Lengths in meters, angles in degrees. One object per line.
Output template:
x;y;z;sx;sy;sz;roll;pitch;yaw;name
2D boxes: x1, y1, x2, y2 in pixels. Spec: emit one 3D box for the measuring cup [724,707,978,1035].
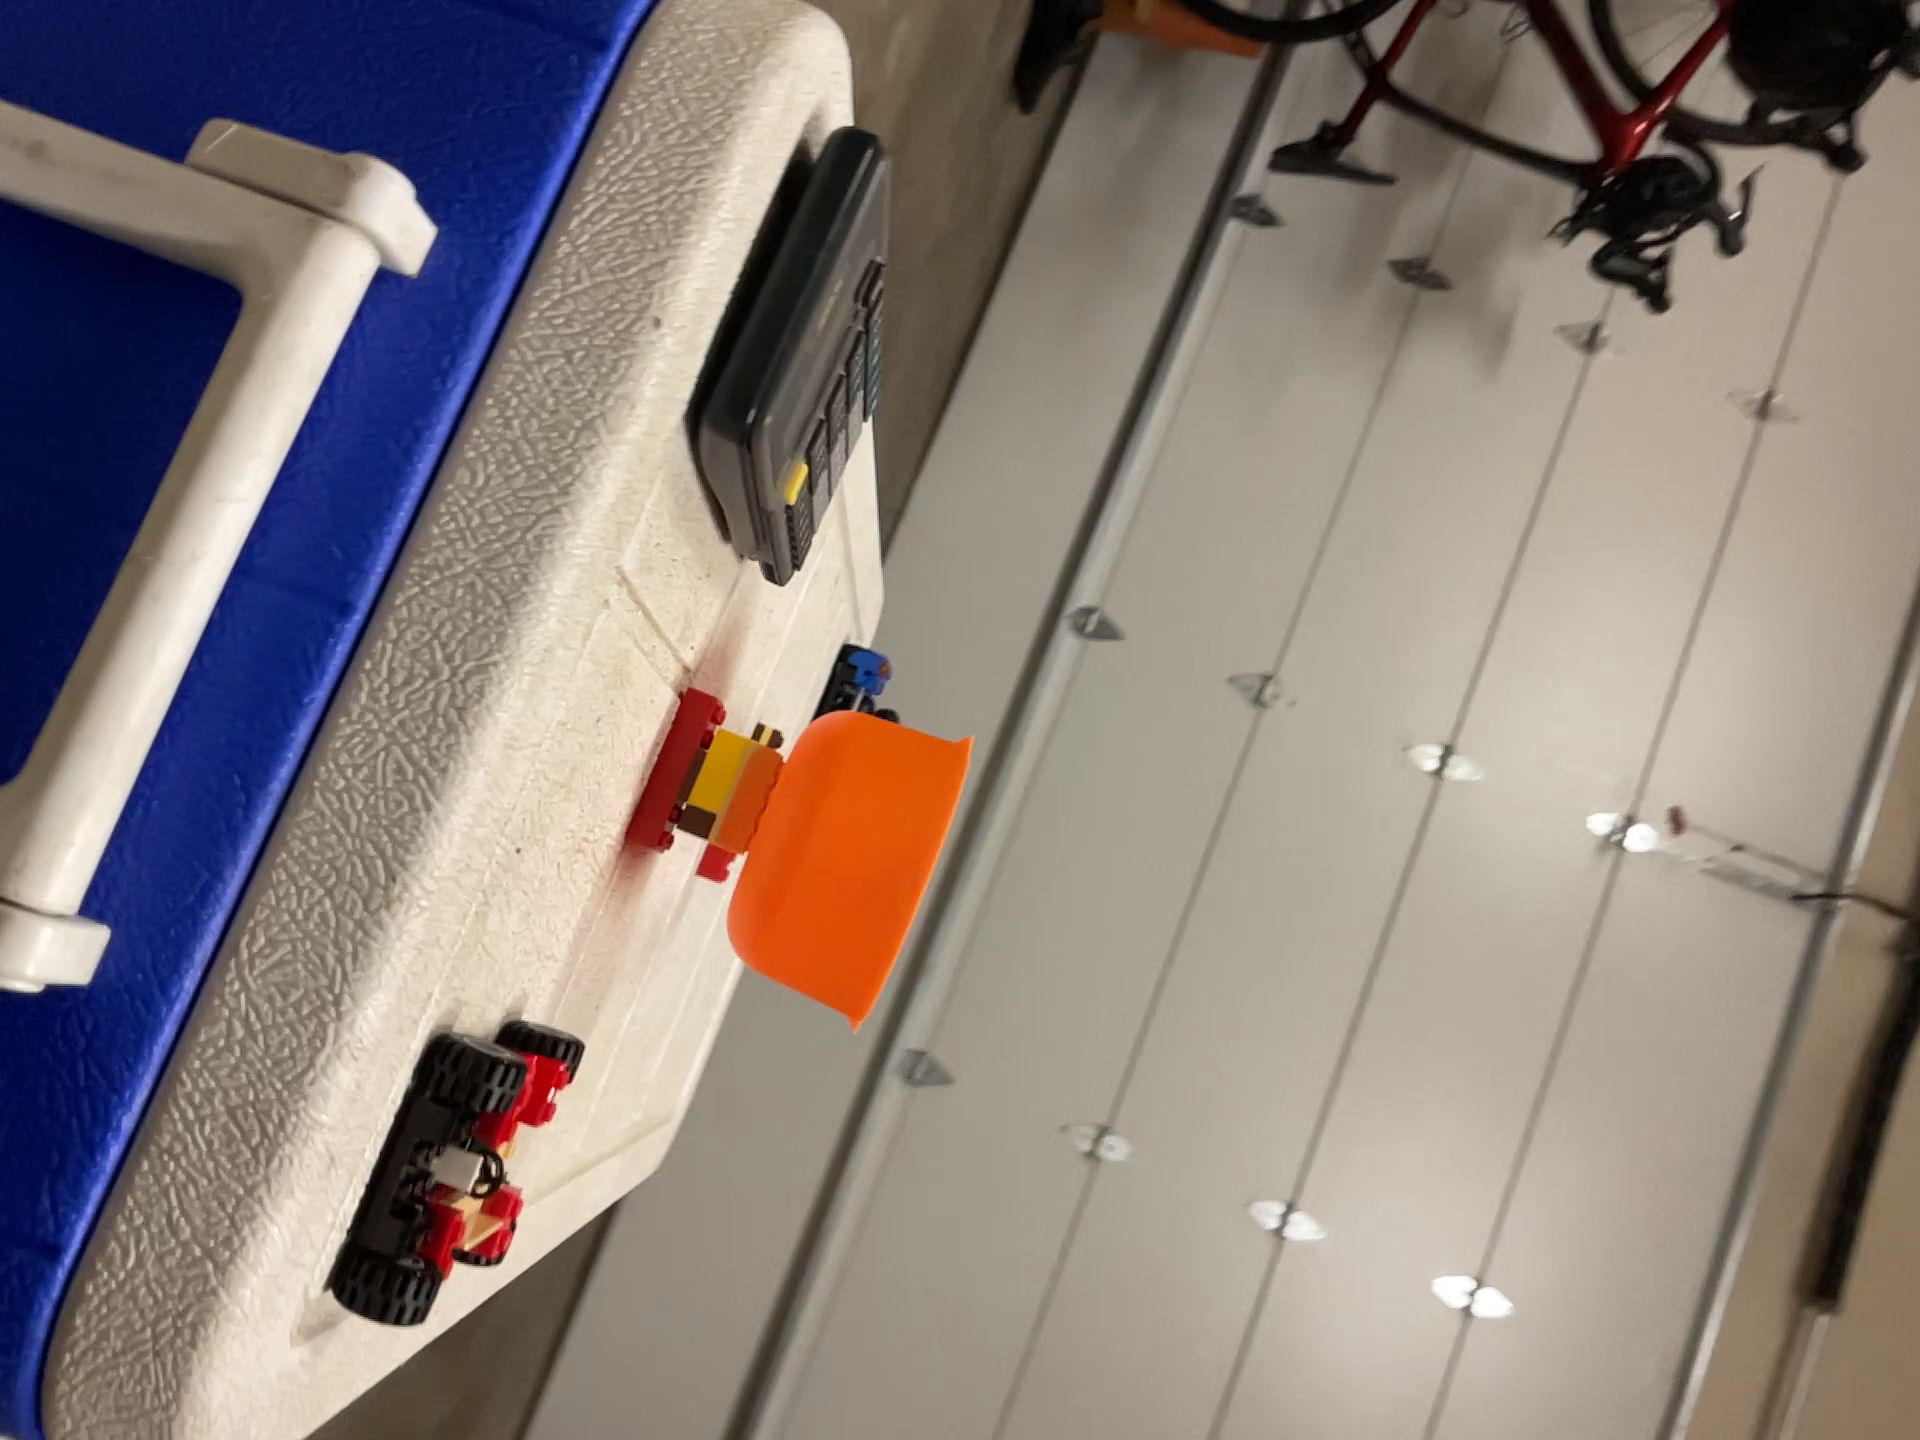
-0.039;0.042;0.518;0.173;0.052;0.095;154;-42;-84;measuring cup
